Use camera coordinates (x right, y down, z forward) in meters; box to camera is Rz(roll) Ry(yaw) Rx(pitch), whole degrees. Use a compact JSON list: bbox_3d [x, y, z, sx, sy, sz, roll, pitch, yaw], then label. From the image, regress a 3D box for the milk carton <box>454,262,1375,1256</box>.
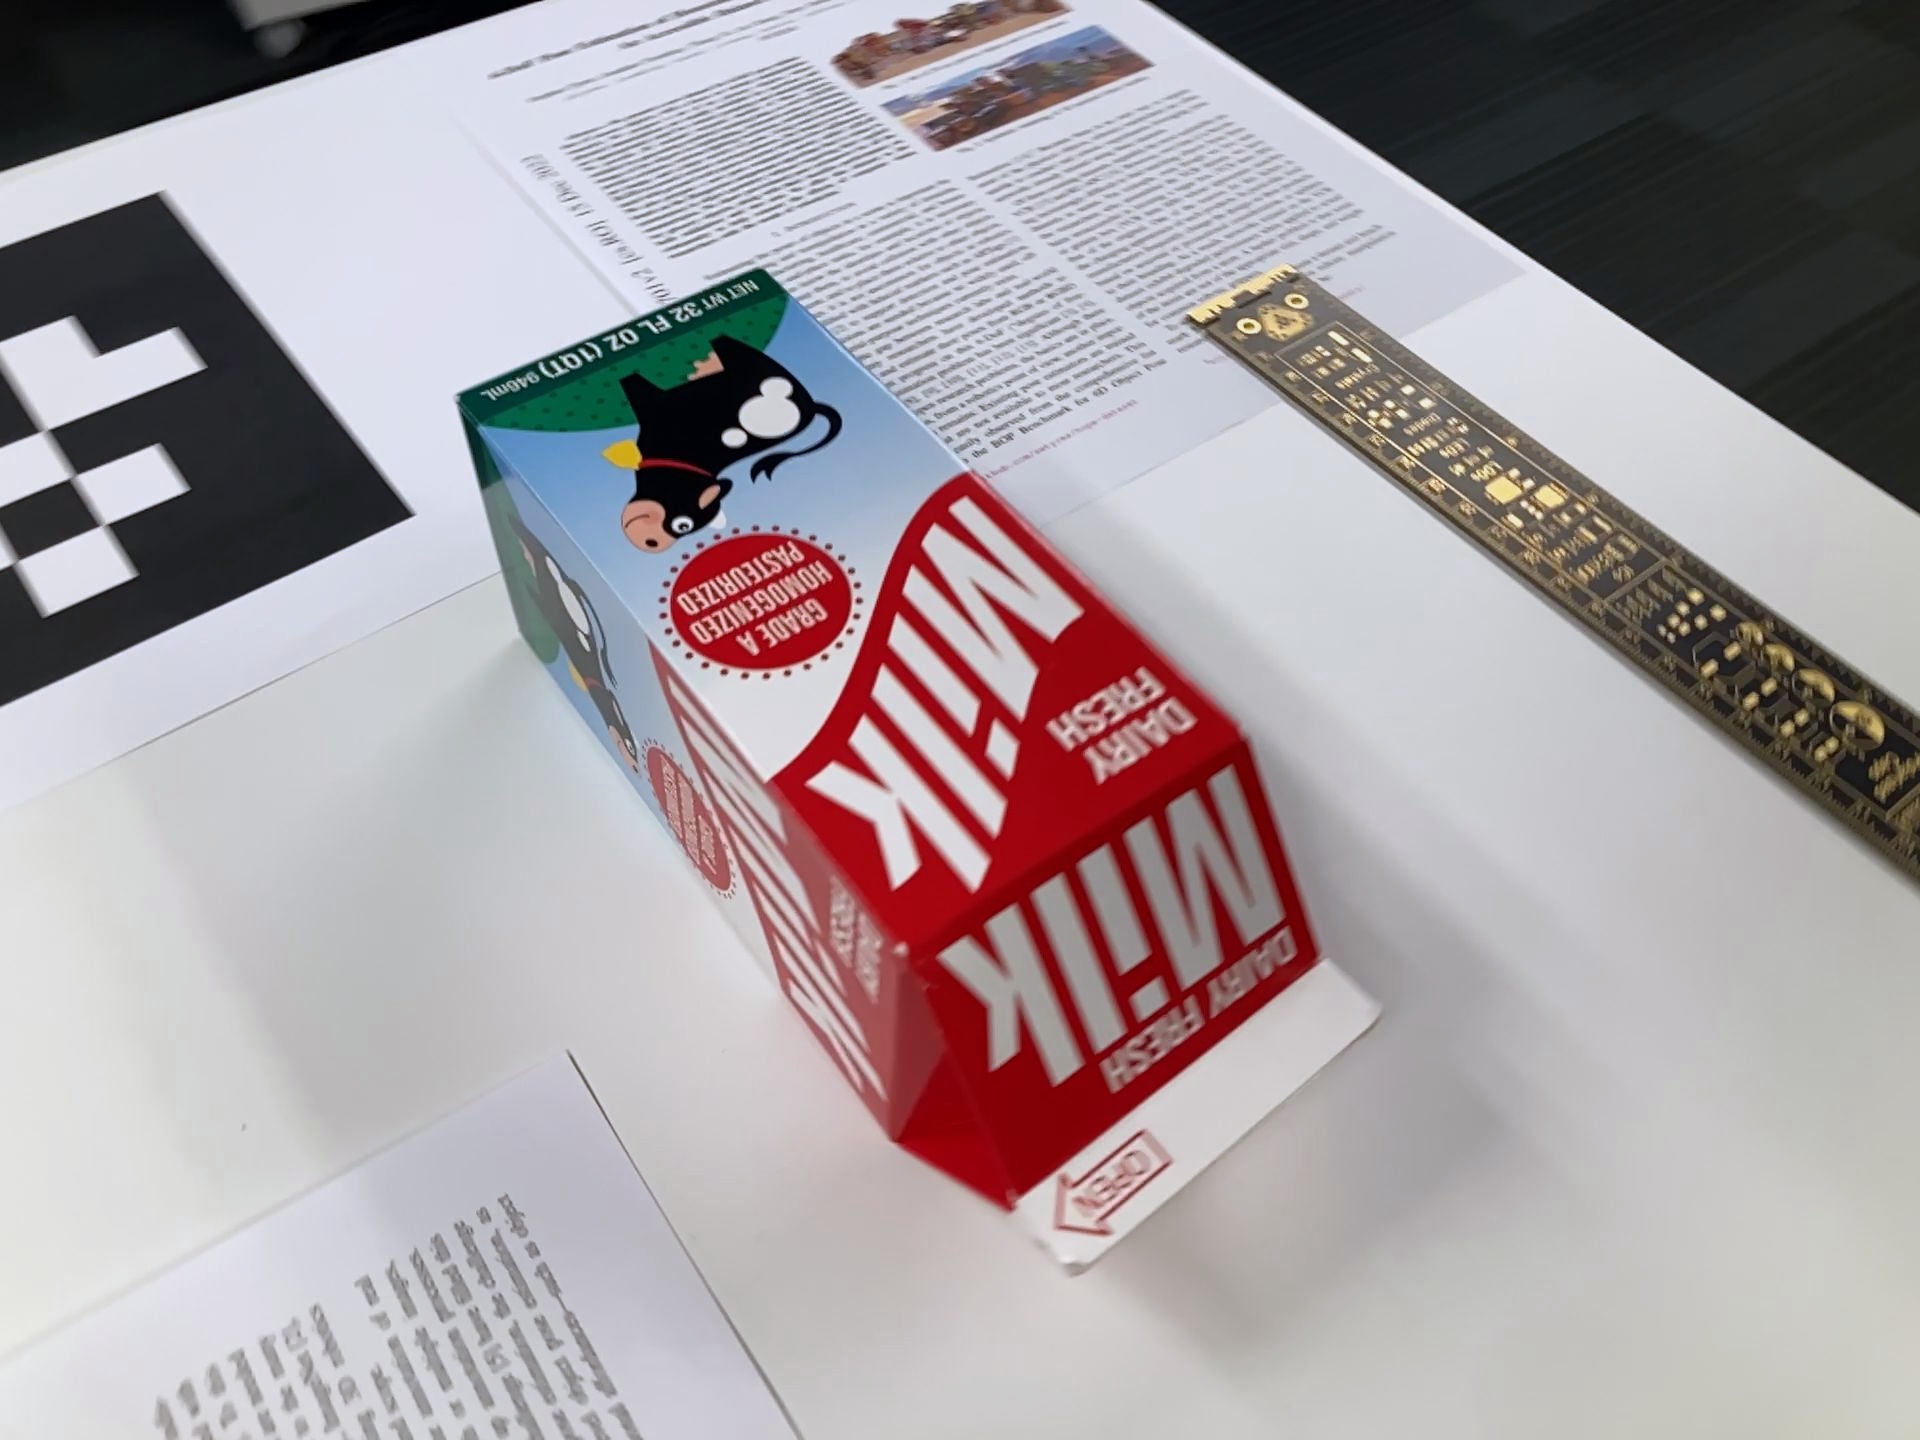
[{"bbox_3d":[-0.014,0.004,0.296,0.072,0.073,0.190,-30,60,-23],"label":"milk carton"}]
